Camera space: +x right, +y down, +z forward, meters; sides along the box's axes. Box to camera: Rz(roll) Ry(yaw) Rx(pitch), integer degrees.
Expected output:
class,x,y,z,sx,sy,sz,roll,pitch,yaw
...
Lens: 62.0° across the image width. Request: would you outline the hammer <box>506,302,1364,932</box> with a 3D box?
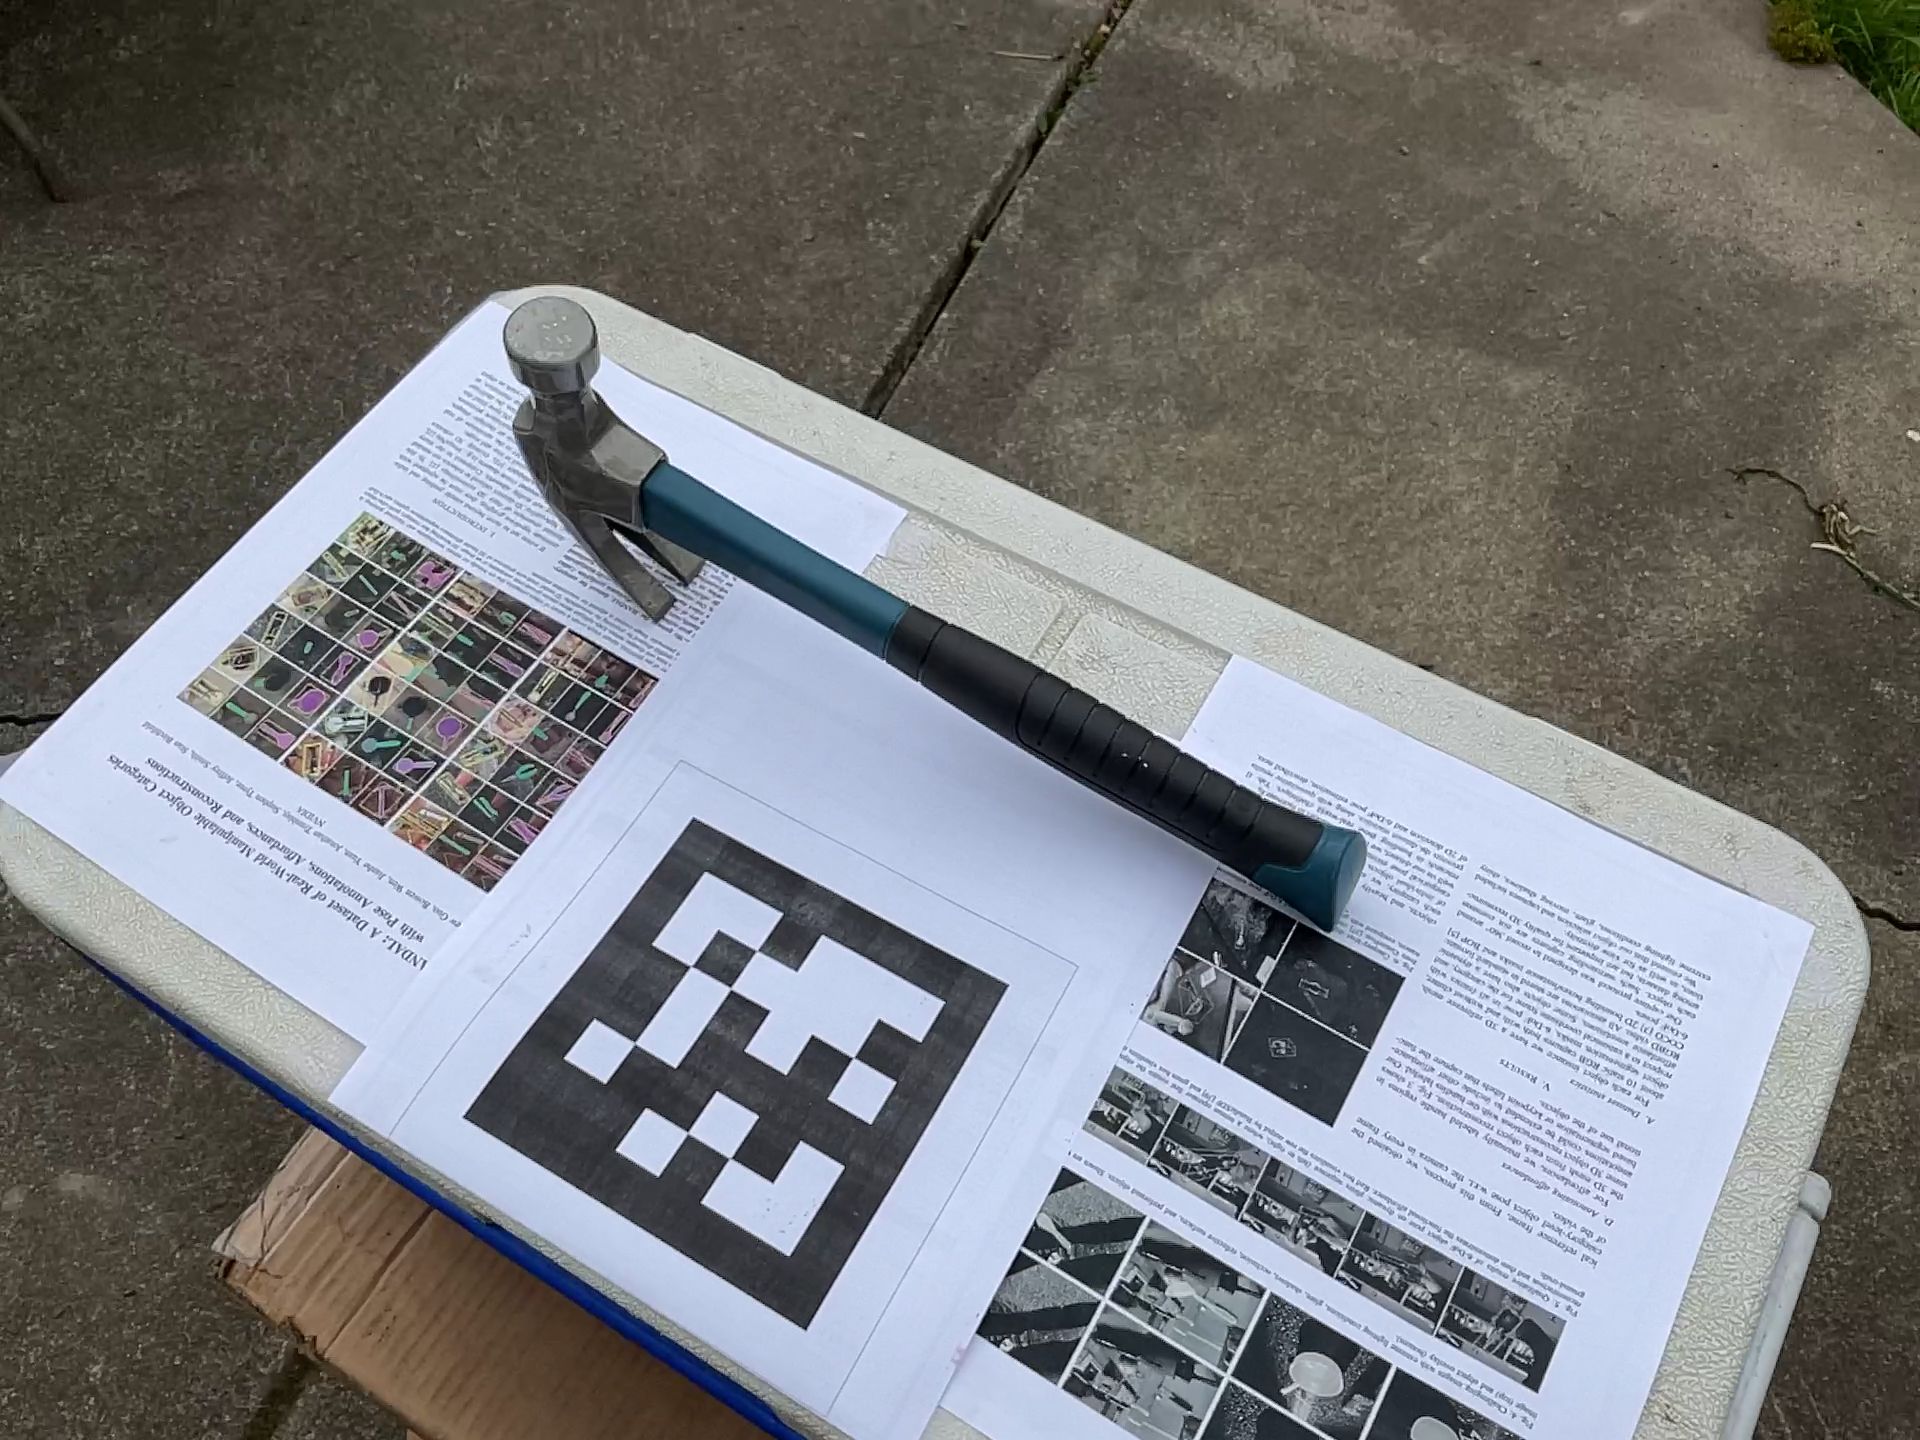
class,x,y,z,sx,sy,sz,roll,pitch,yaw
hammer,-0.010,-0.024,0.554,0.331,0.128,0.033,30,65,7
